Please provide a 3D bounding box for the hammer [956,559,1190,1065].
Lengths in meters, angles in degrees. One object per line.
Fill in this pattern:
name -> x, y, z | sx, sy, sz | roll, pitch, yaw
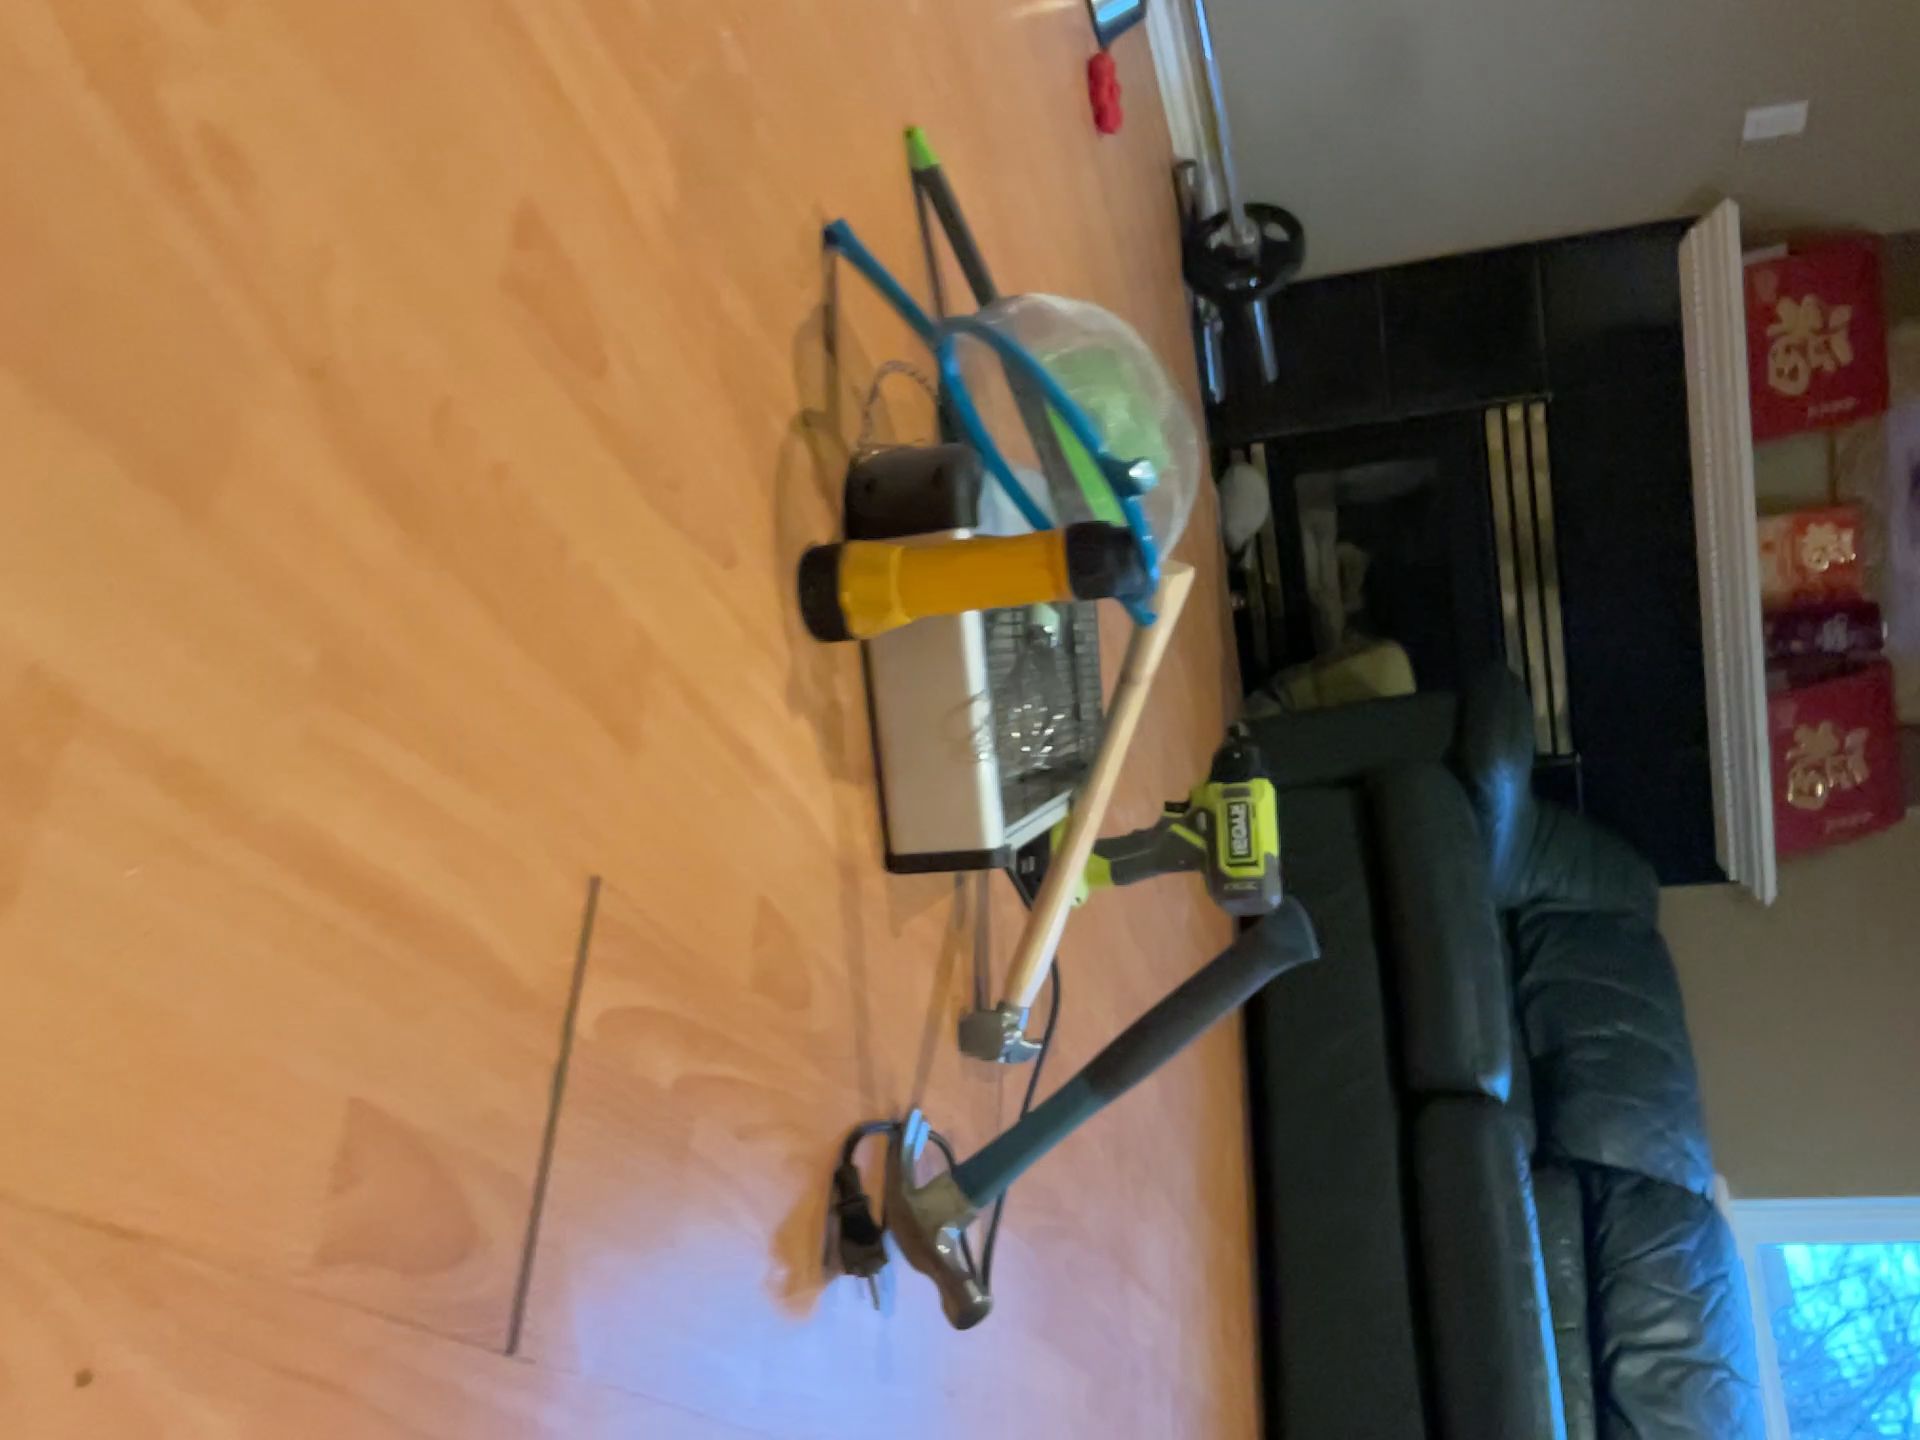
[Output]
hammer -> 0.100, 0.071, 1.255 | 0.410, 0.038, 0.146 | -70, 160, -4

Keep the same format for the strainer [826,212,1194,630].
strainer -> 0.042, -0.227, 1.013 | 0.340, 0.095, 0.211 | 52, -8, 22

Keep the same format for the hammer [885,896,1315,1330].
hammer -> 0.094, 0.226, 1.010 | 0.128, 0.331, 0.033 | 45, -13, 39

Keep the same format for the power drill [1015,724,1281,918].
power drill -> 0.167, 0.092, 1.419 | 0.080, 0.223, 0.171 | 56, 31, -60

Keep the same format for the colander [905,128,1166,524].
colander -> 0.074, -0.312, 1.317 | 0.397, 0.094, 0.204 | 64, 12, -8

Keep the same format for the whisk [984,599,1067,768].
whisk -> 0.052, -0.051, 1.100 | 0.058, 0.059, 0.246 | 42, 32, -23
